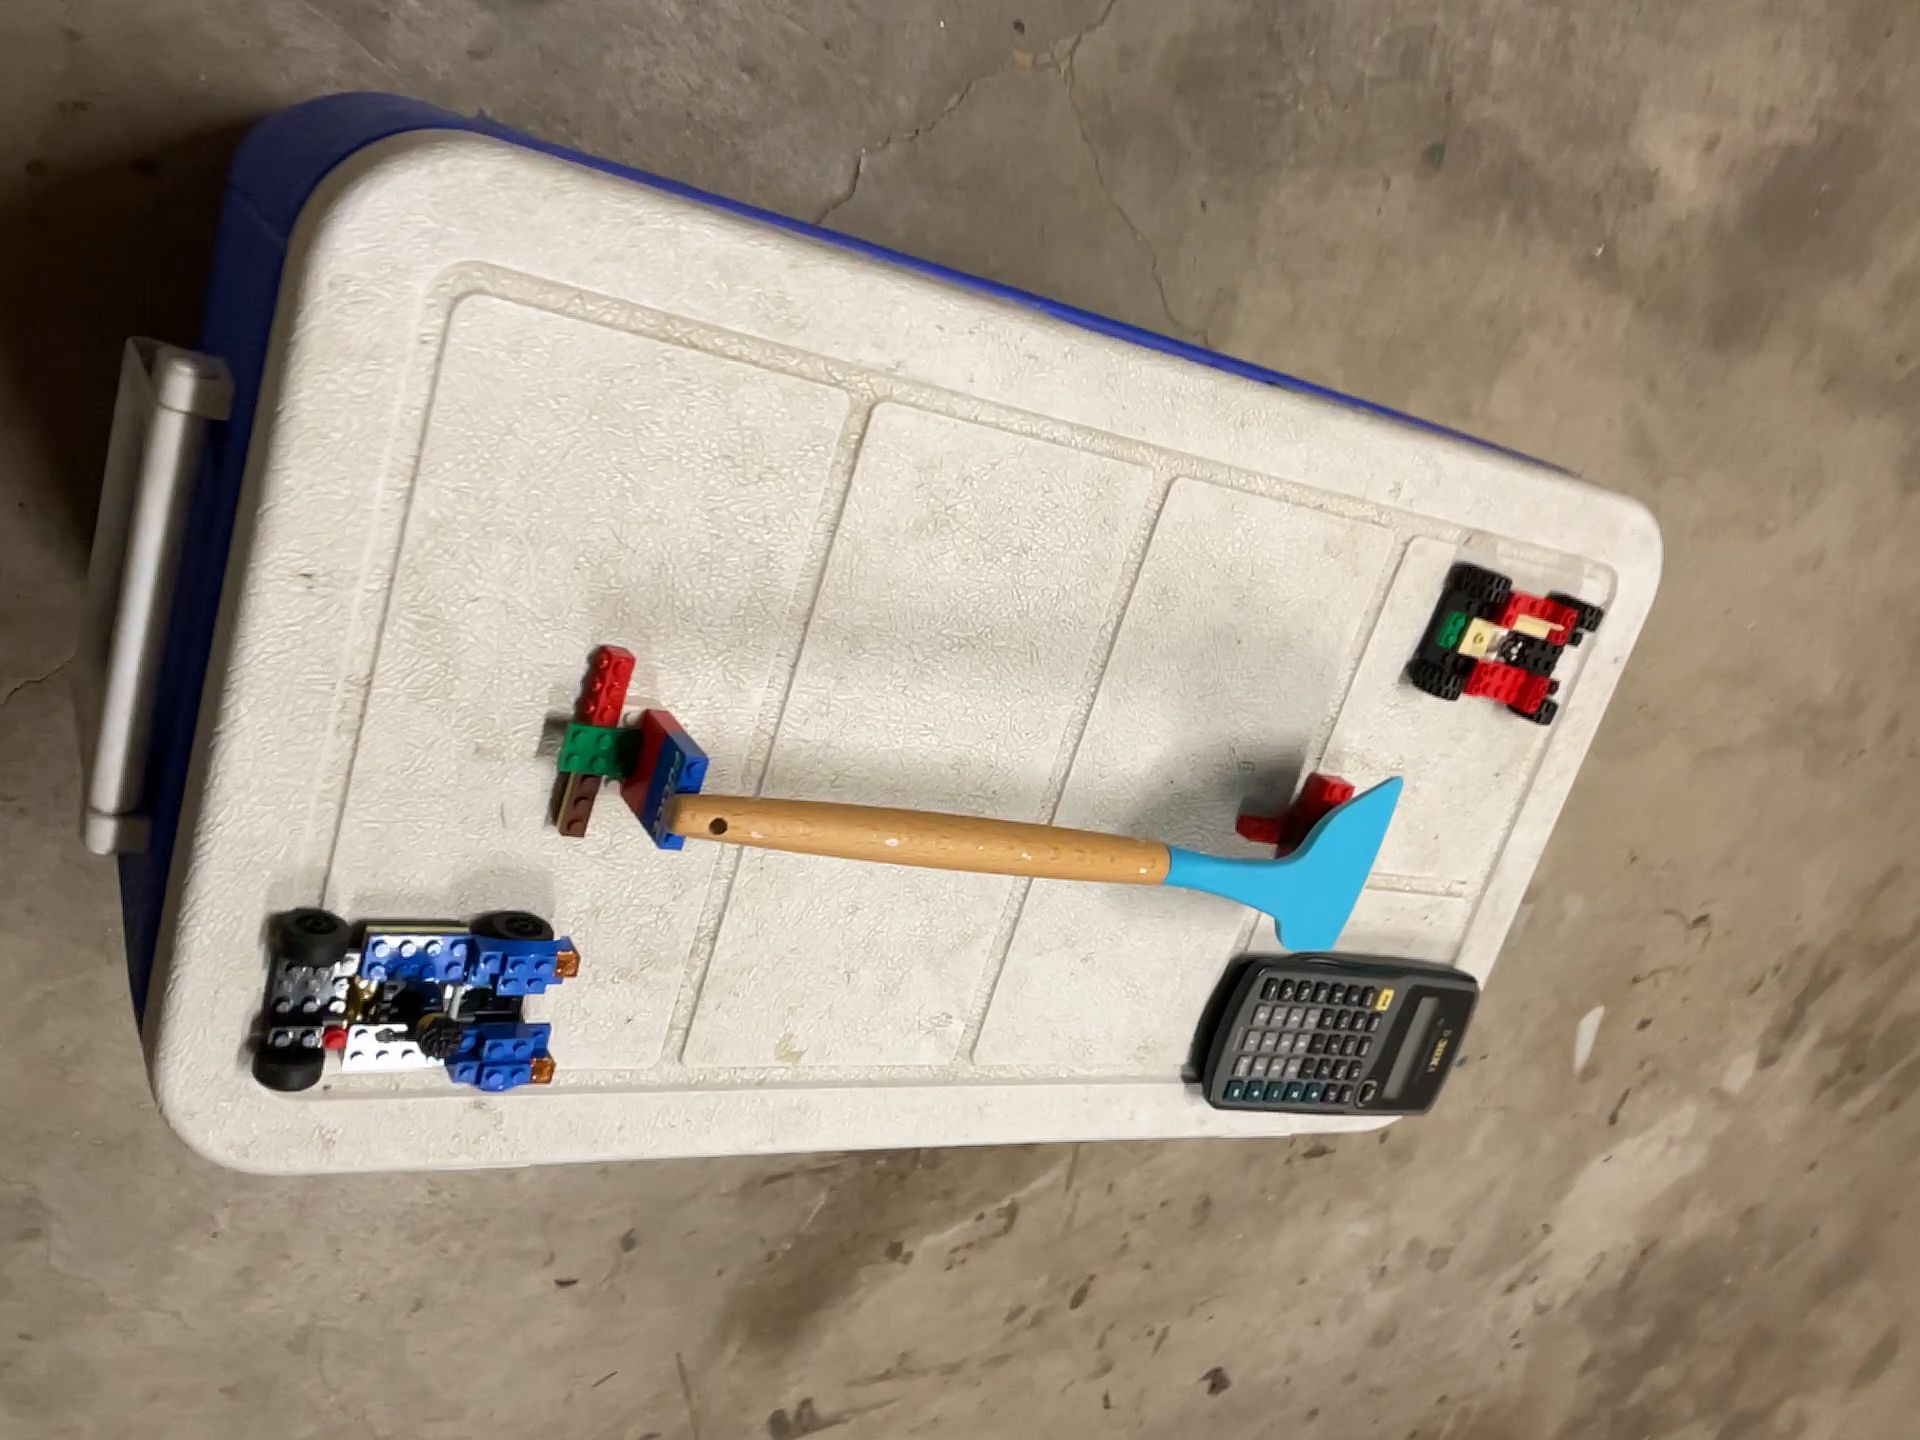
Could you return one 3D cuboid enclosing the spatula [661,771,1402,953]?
[{"bbox_3d":[0.043,0.045,0.568,0.318,0.044,0.082,9,108,-30],"label":"spatula"}]
